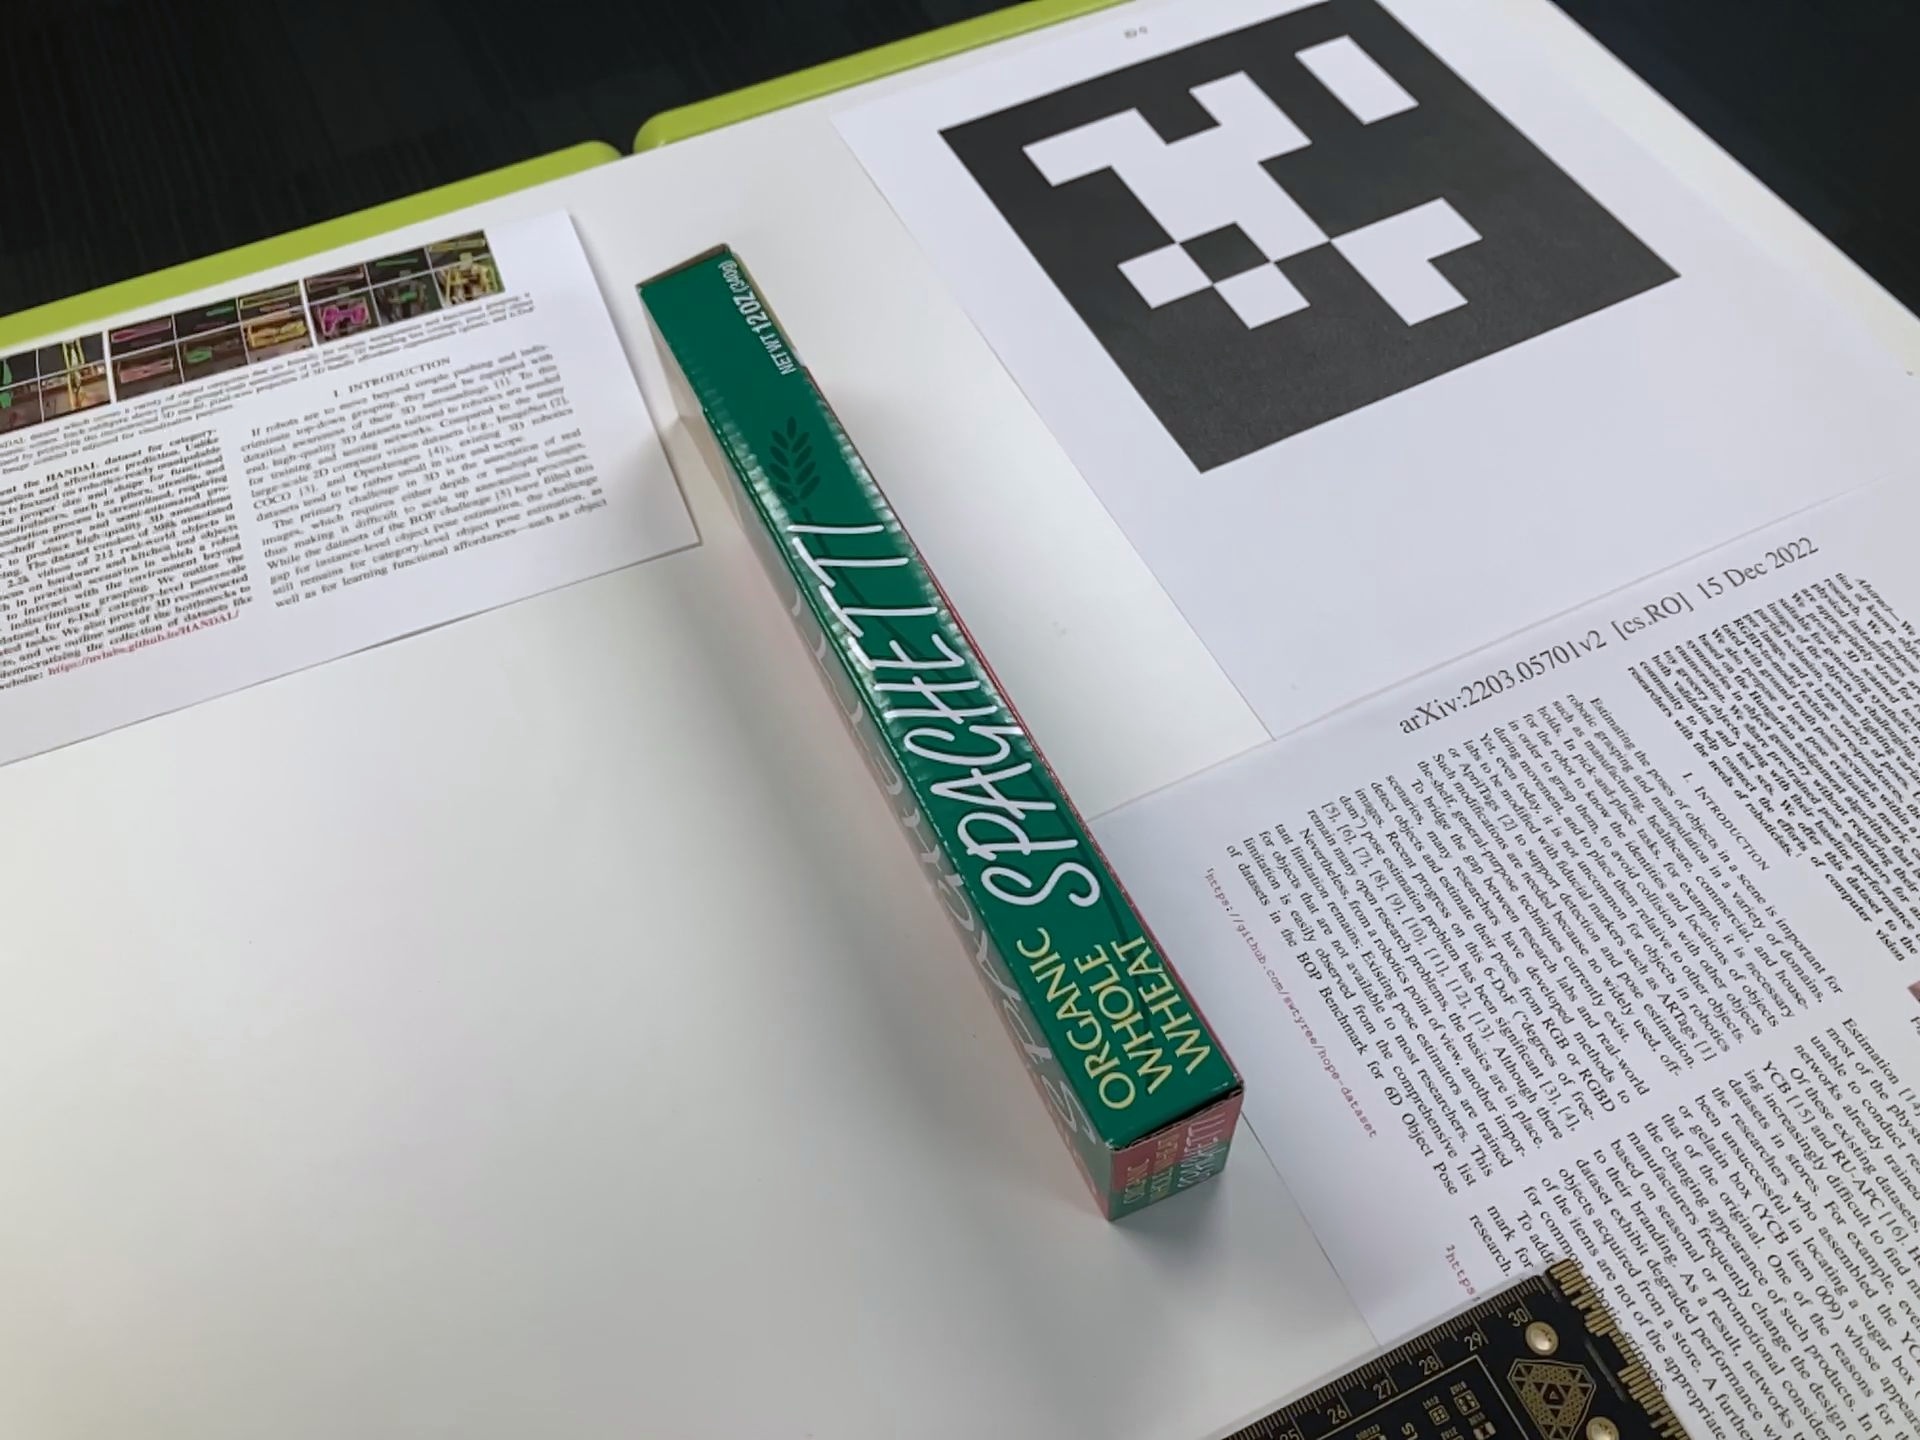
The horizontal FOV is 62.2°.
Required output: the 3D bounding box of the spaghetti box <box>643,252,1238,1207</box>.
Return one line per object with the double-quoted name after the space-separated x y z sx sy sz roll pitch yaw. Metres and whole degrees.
-0.013 -0.010 0.362 0.028 0.050 0.250 -25 60 -9 "spaghetti box"
